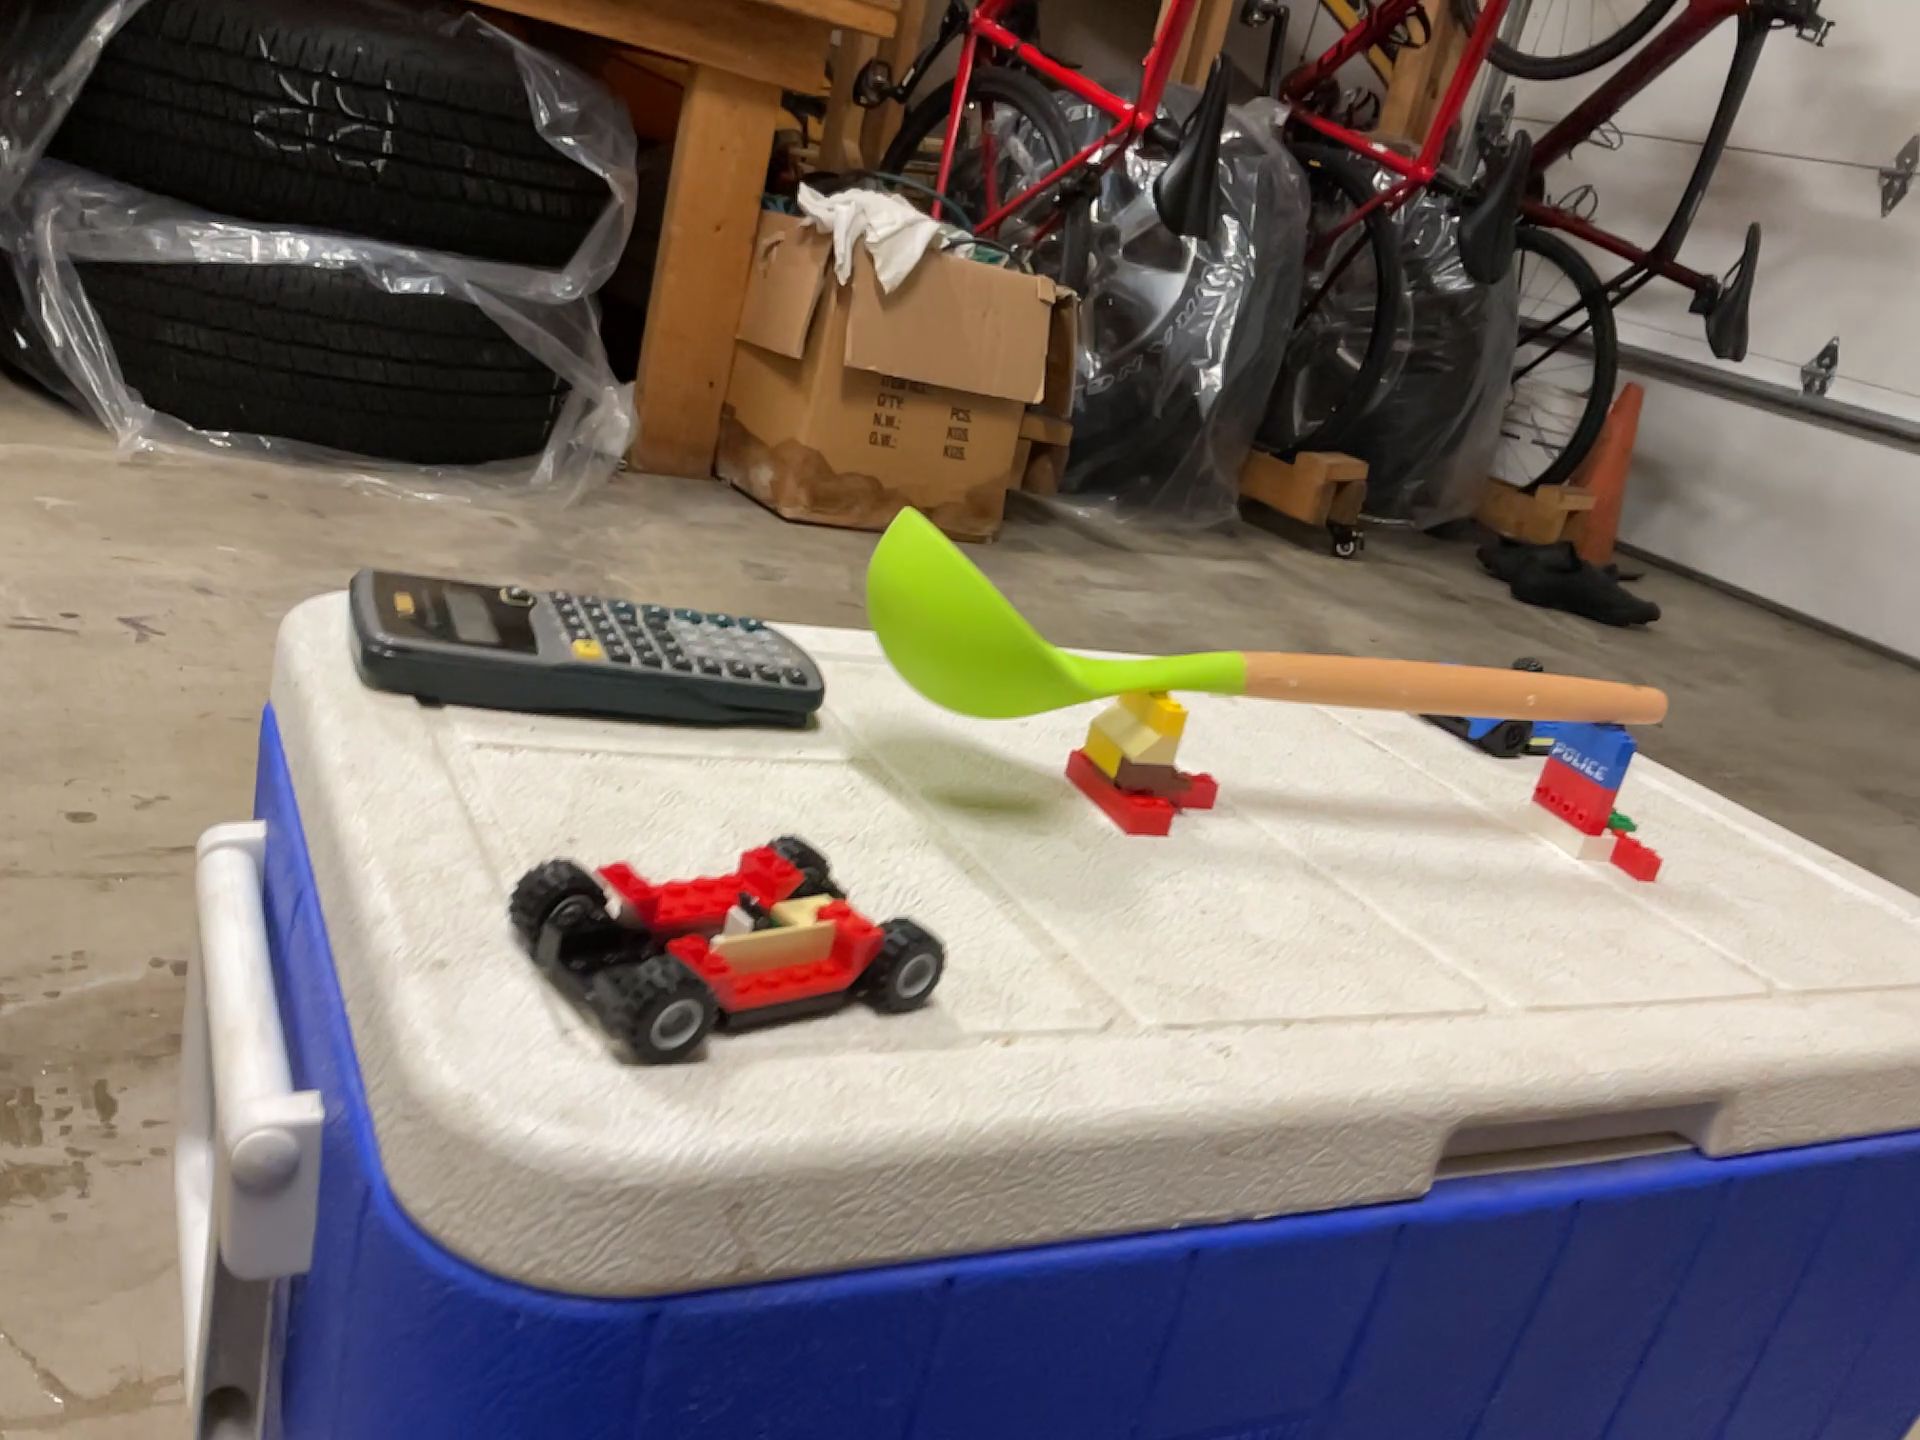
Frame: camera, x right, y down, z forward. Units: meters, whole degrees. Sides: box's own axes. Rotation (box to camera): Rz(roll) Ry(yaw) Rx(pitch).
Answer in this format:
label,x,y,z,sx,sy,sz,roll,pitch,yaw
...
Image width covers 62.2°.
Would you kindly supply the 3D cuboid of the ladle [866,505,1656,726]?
label,x,y,z,sx,sy,sz,roll,pitch,yaw
ladle,0.119,-0.025,0.551,0.320,0.062,0.078,4,20,-22
